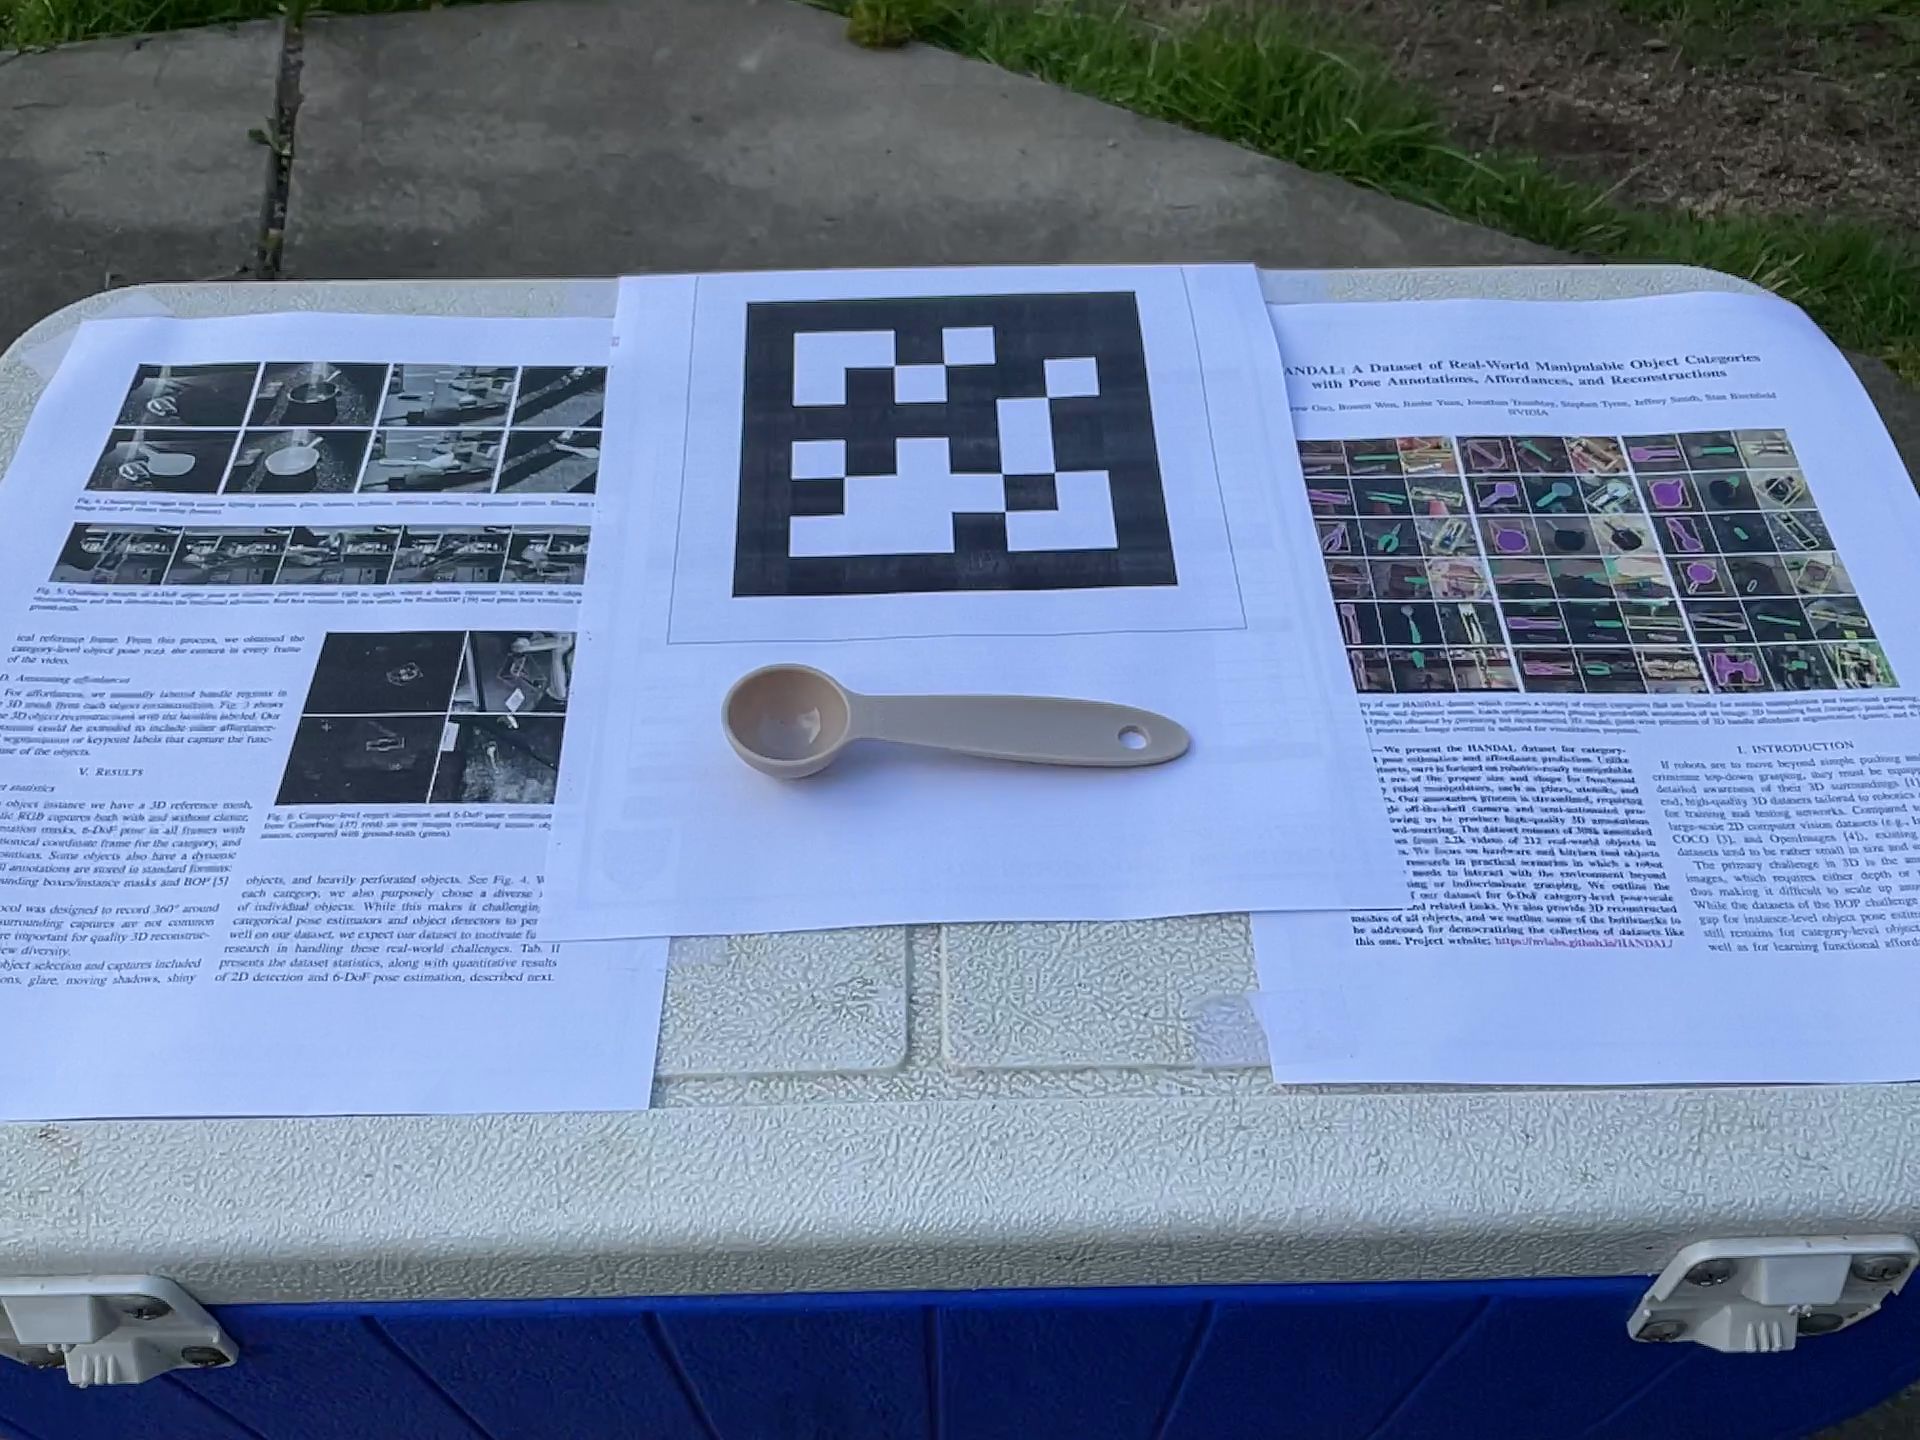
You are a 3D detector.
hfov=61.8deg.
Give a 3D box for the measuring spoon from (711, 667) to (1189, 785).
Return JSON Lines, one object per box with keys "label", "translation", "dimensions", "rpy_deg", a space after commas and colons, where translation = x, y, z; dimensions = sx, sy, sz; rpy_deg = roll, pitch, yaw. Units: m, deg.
{"label": "measuring spoon", "translation": [-0.002, 0.007, 0.418], "dimensions": [0.124, 0.018, 0.034], "rpy_deg": [3, 50, -7]}
